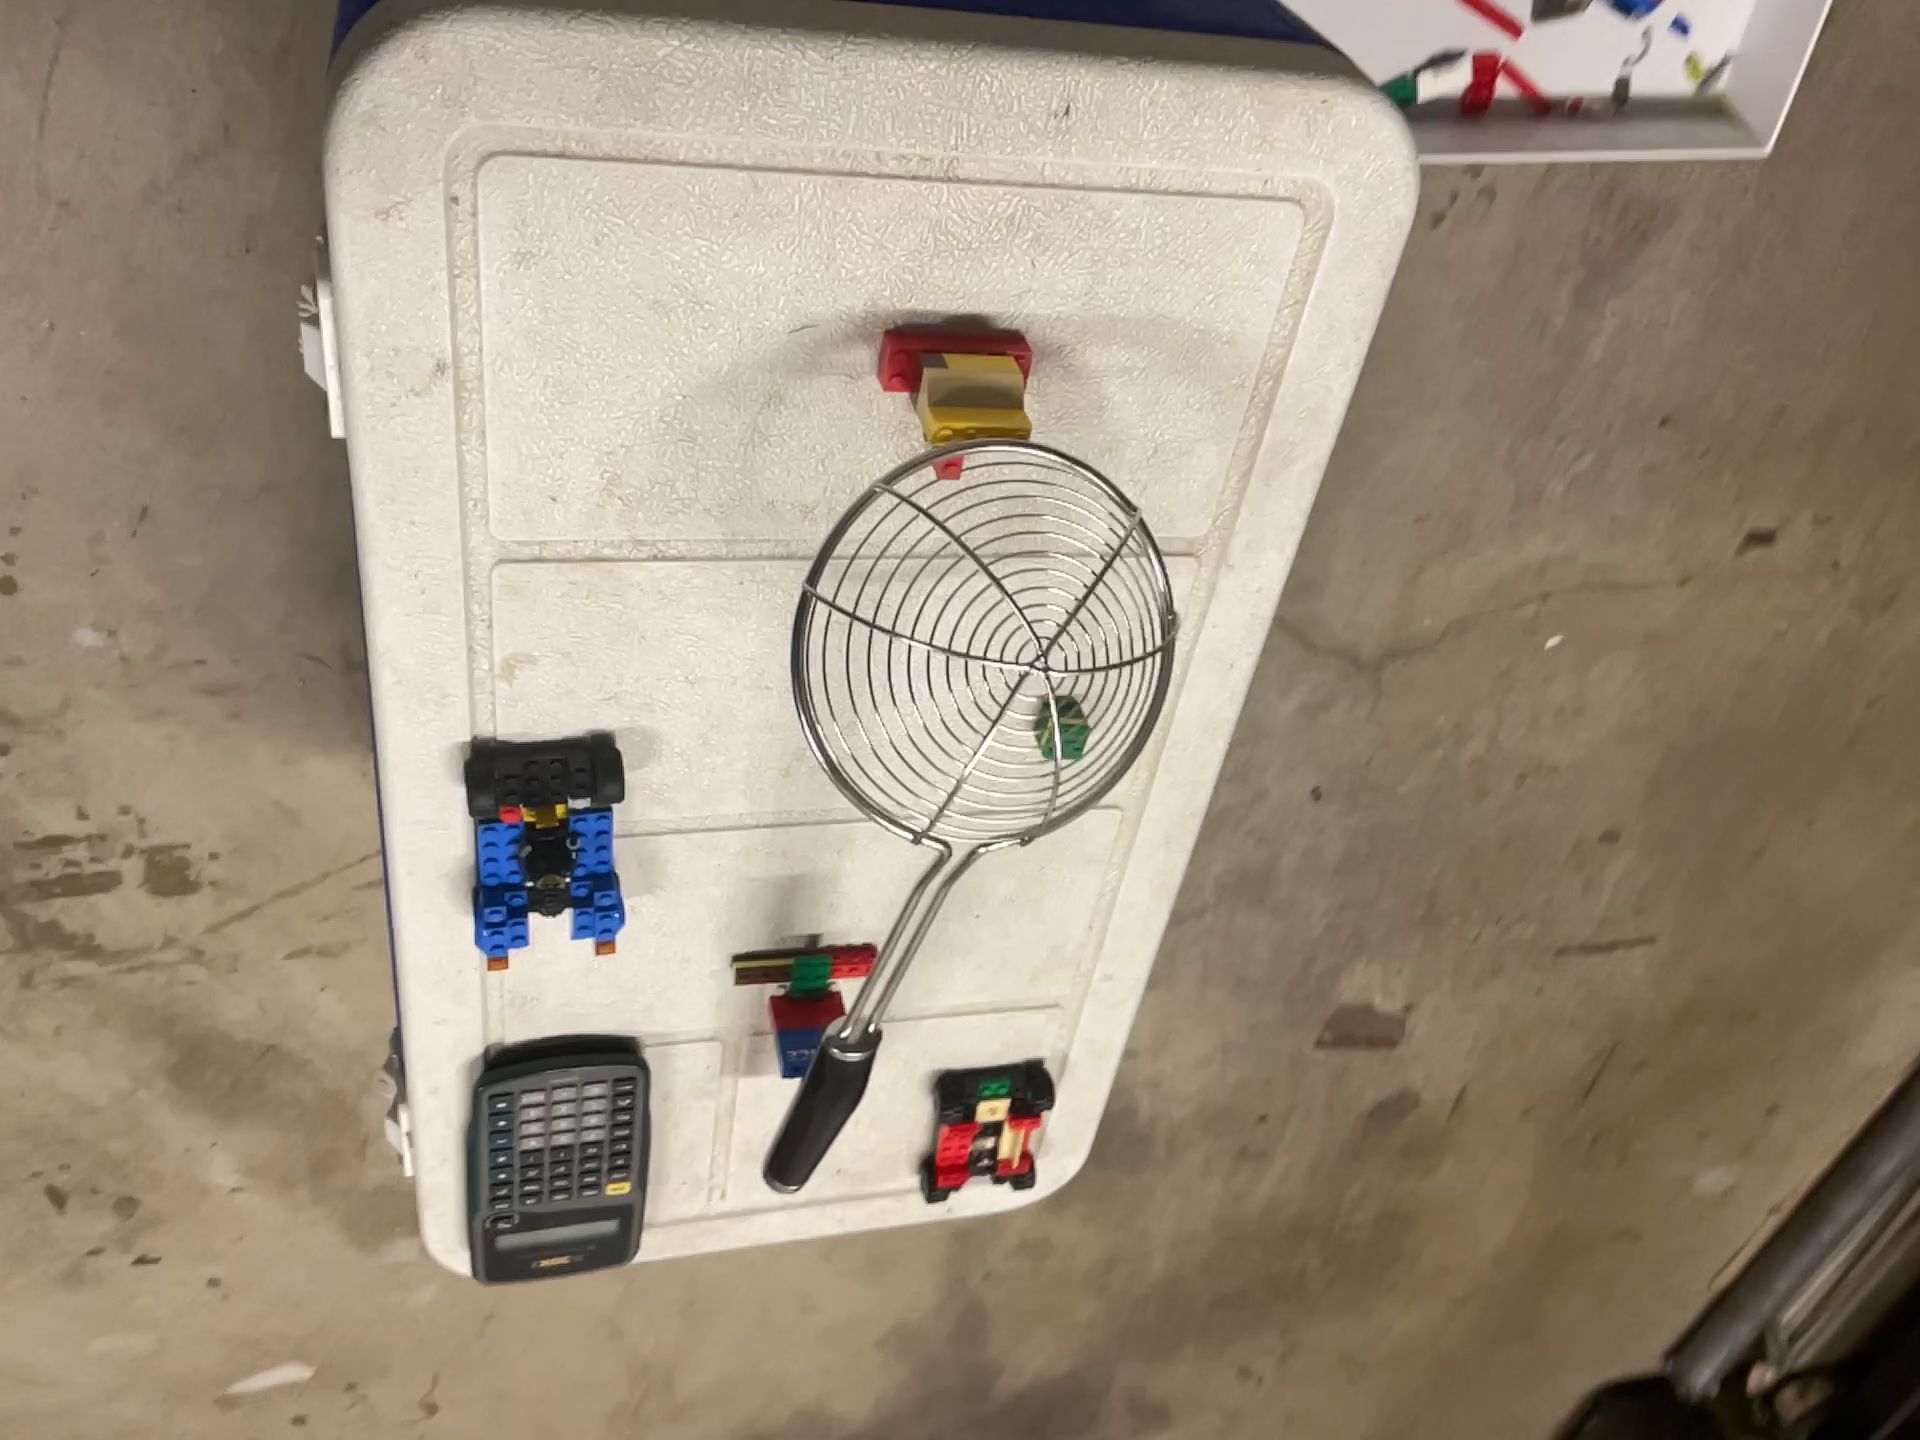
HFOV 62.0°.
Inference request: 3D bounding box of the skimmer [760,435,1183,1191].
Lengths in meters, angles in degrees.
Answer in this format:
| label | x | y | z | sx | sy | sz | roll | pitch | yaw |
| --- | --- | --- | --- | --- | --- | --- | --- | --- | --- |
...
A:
| label | x | y | z | sx | sy | sz | roll | pitch | yaw |
| --- | --- | --- | --- | --- | --- | --- | --- | --- | --- |
| skimmer | -0.028 | 0.060 | 0.585 | 0.127 | 0.090 | 0.362 | 2 | 141 | -21 |
